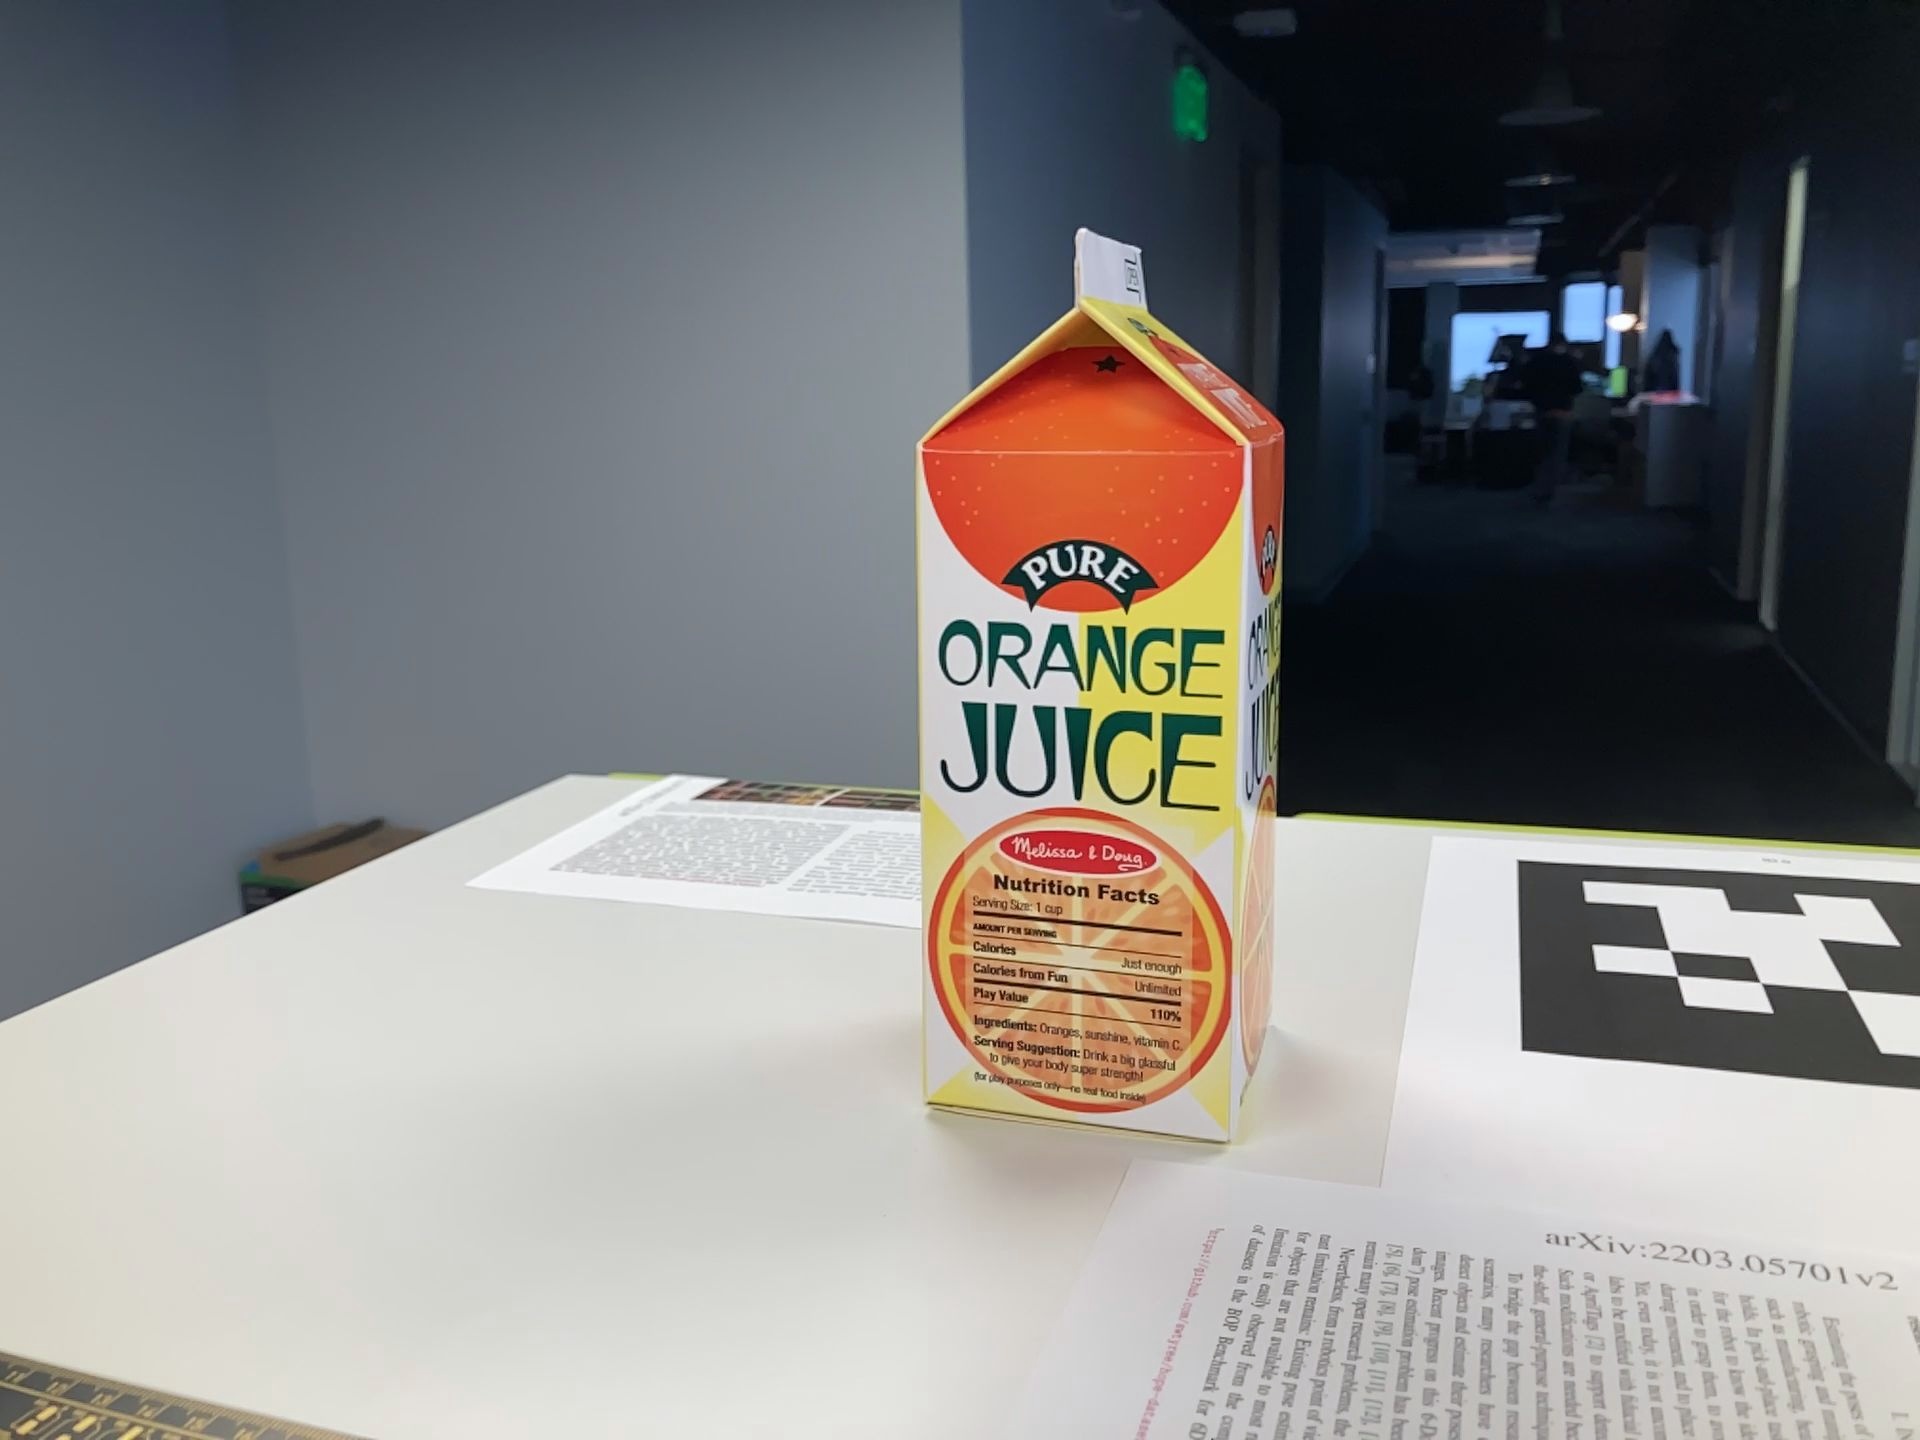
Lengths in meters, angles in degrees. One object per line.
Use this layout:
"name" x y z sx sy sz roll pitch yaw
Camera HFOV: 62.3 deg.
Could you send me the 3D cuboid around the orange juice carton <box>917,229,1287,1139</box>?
"orange juice carton" 0.034 -0.010 0.365 0.073 0.192 0.072 3 11 18
